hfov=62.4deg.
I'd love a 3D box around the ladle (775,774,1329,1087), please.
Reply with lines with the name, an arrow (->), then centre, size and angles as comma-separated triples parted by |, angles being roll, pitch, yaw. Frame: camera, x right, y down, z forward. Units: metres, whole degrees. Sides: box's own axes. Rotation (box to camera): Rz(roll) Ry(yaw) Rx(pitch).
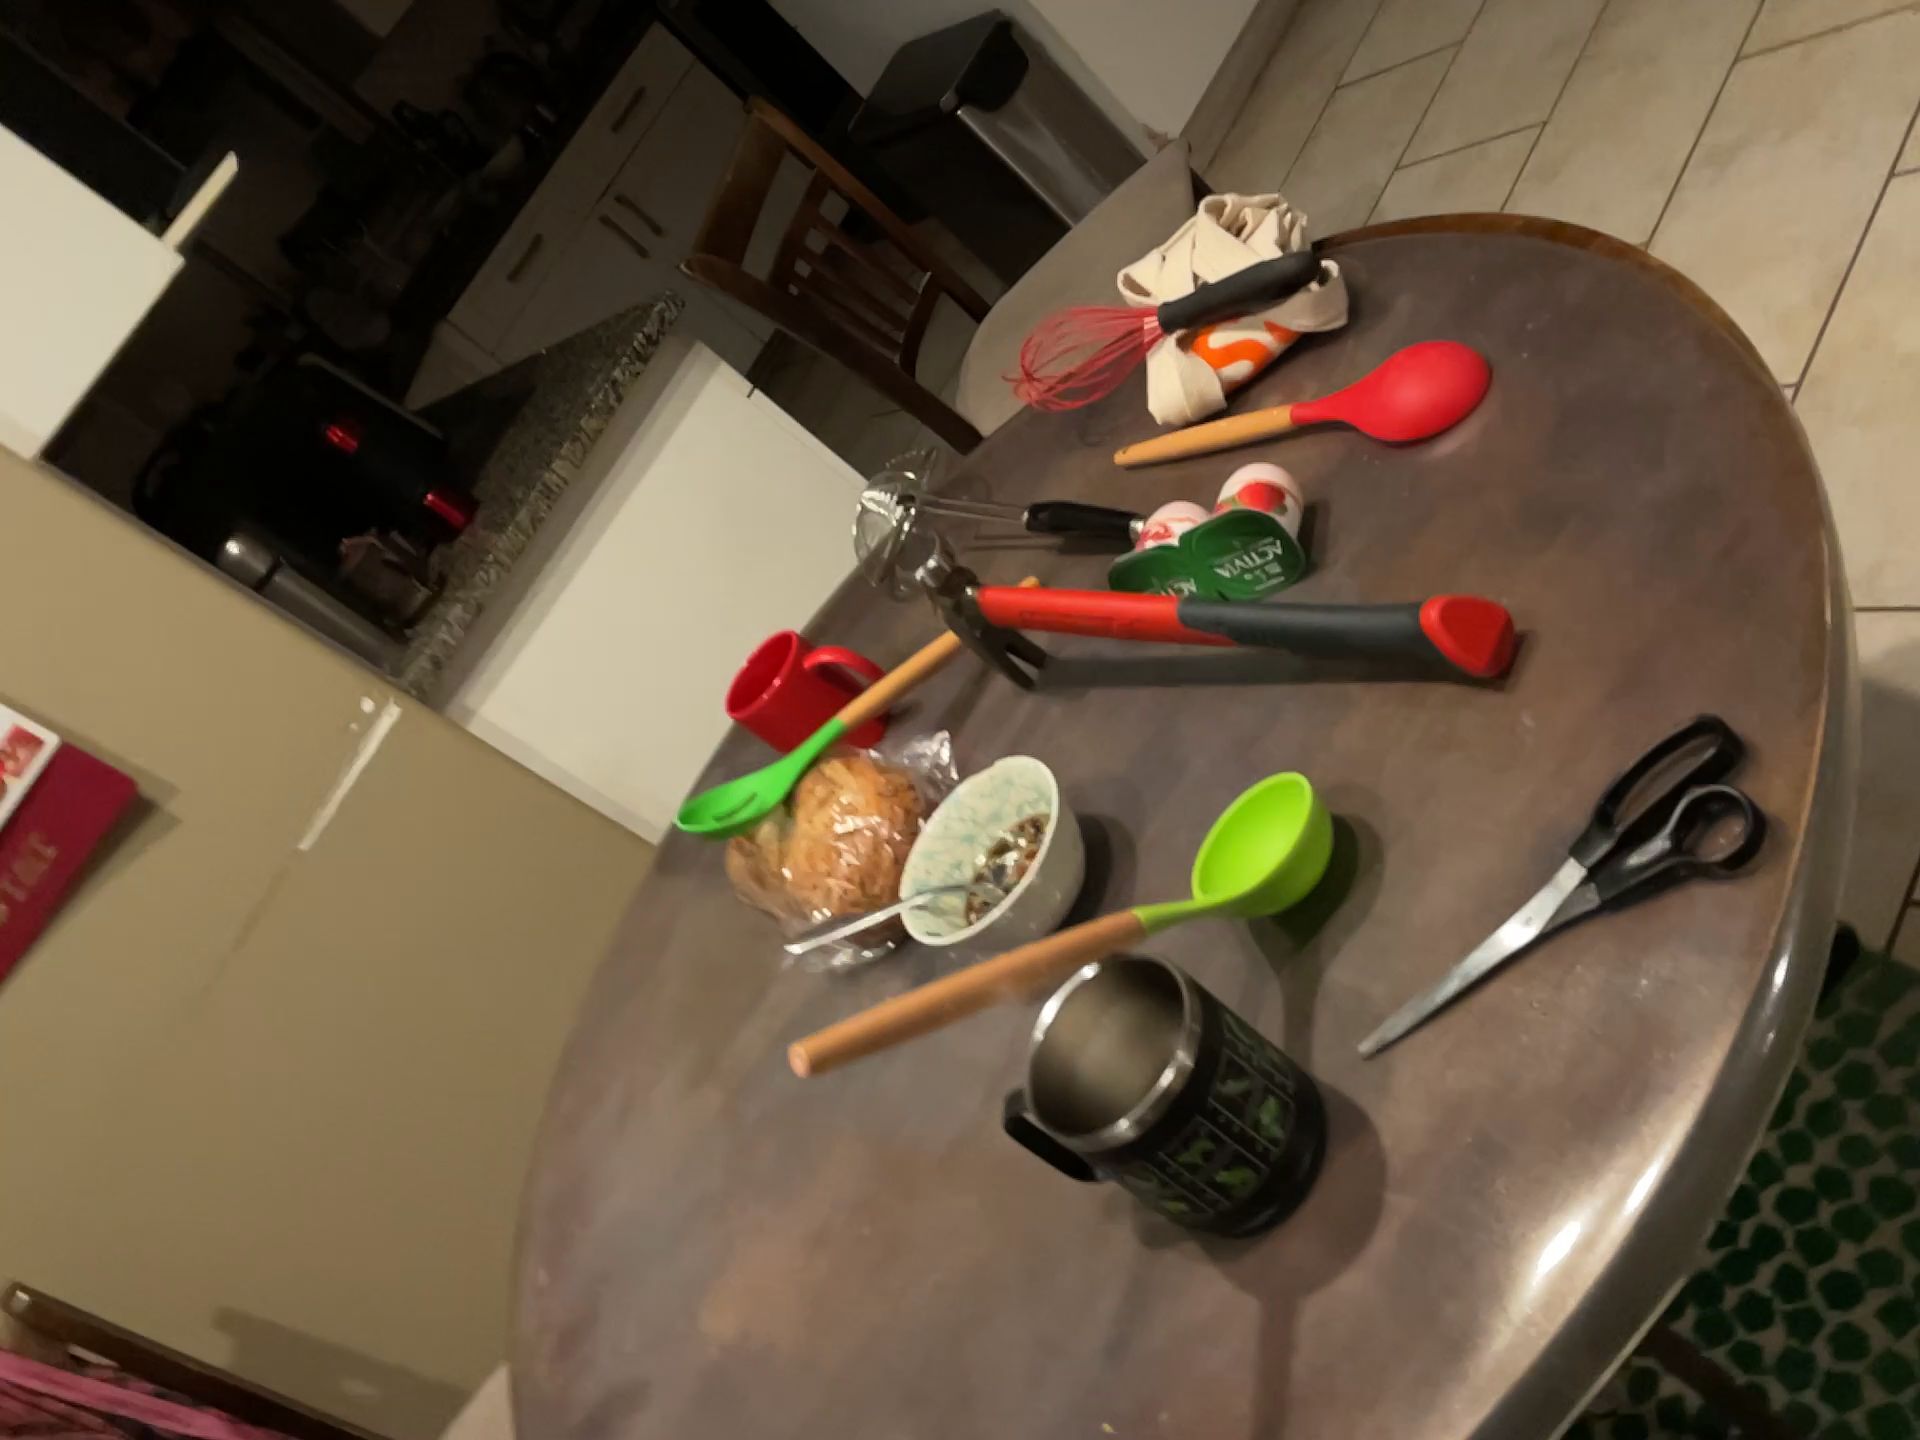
ladle -> 0.050, 0.088, 0.689 | 0.078, 0.320, 0.062 | -35, 74, 50

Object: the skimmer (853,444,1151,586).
skimmer -> 0.035, -0.146, 1.209 | 0.364, 0.090, 0.127 | 17, 79, 49

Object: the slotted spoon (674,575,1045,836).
slotted spoon -> -0.060, -0.012, 1.089 | 0.313, 0.031, 0.070 | -37, 28, -19

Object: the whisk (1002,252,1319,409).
whisk -> 0.133, -0.276, 1.112 | 0.296, 0.073, 0.073 | -7, 50, 52

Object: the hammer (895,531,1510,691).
hammer -> 0.133, -0.048, 0.904 | 0.387, 0.143, 0.038 | 10, 66, 46

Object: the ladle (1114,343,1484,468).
ladle -> 0.200, -0.192, 1.022 | 0.316, 0.031, 0.069 | -2, 55, 58
